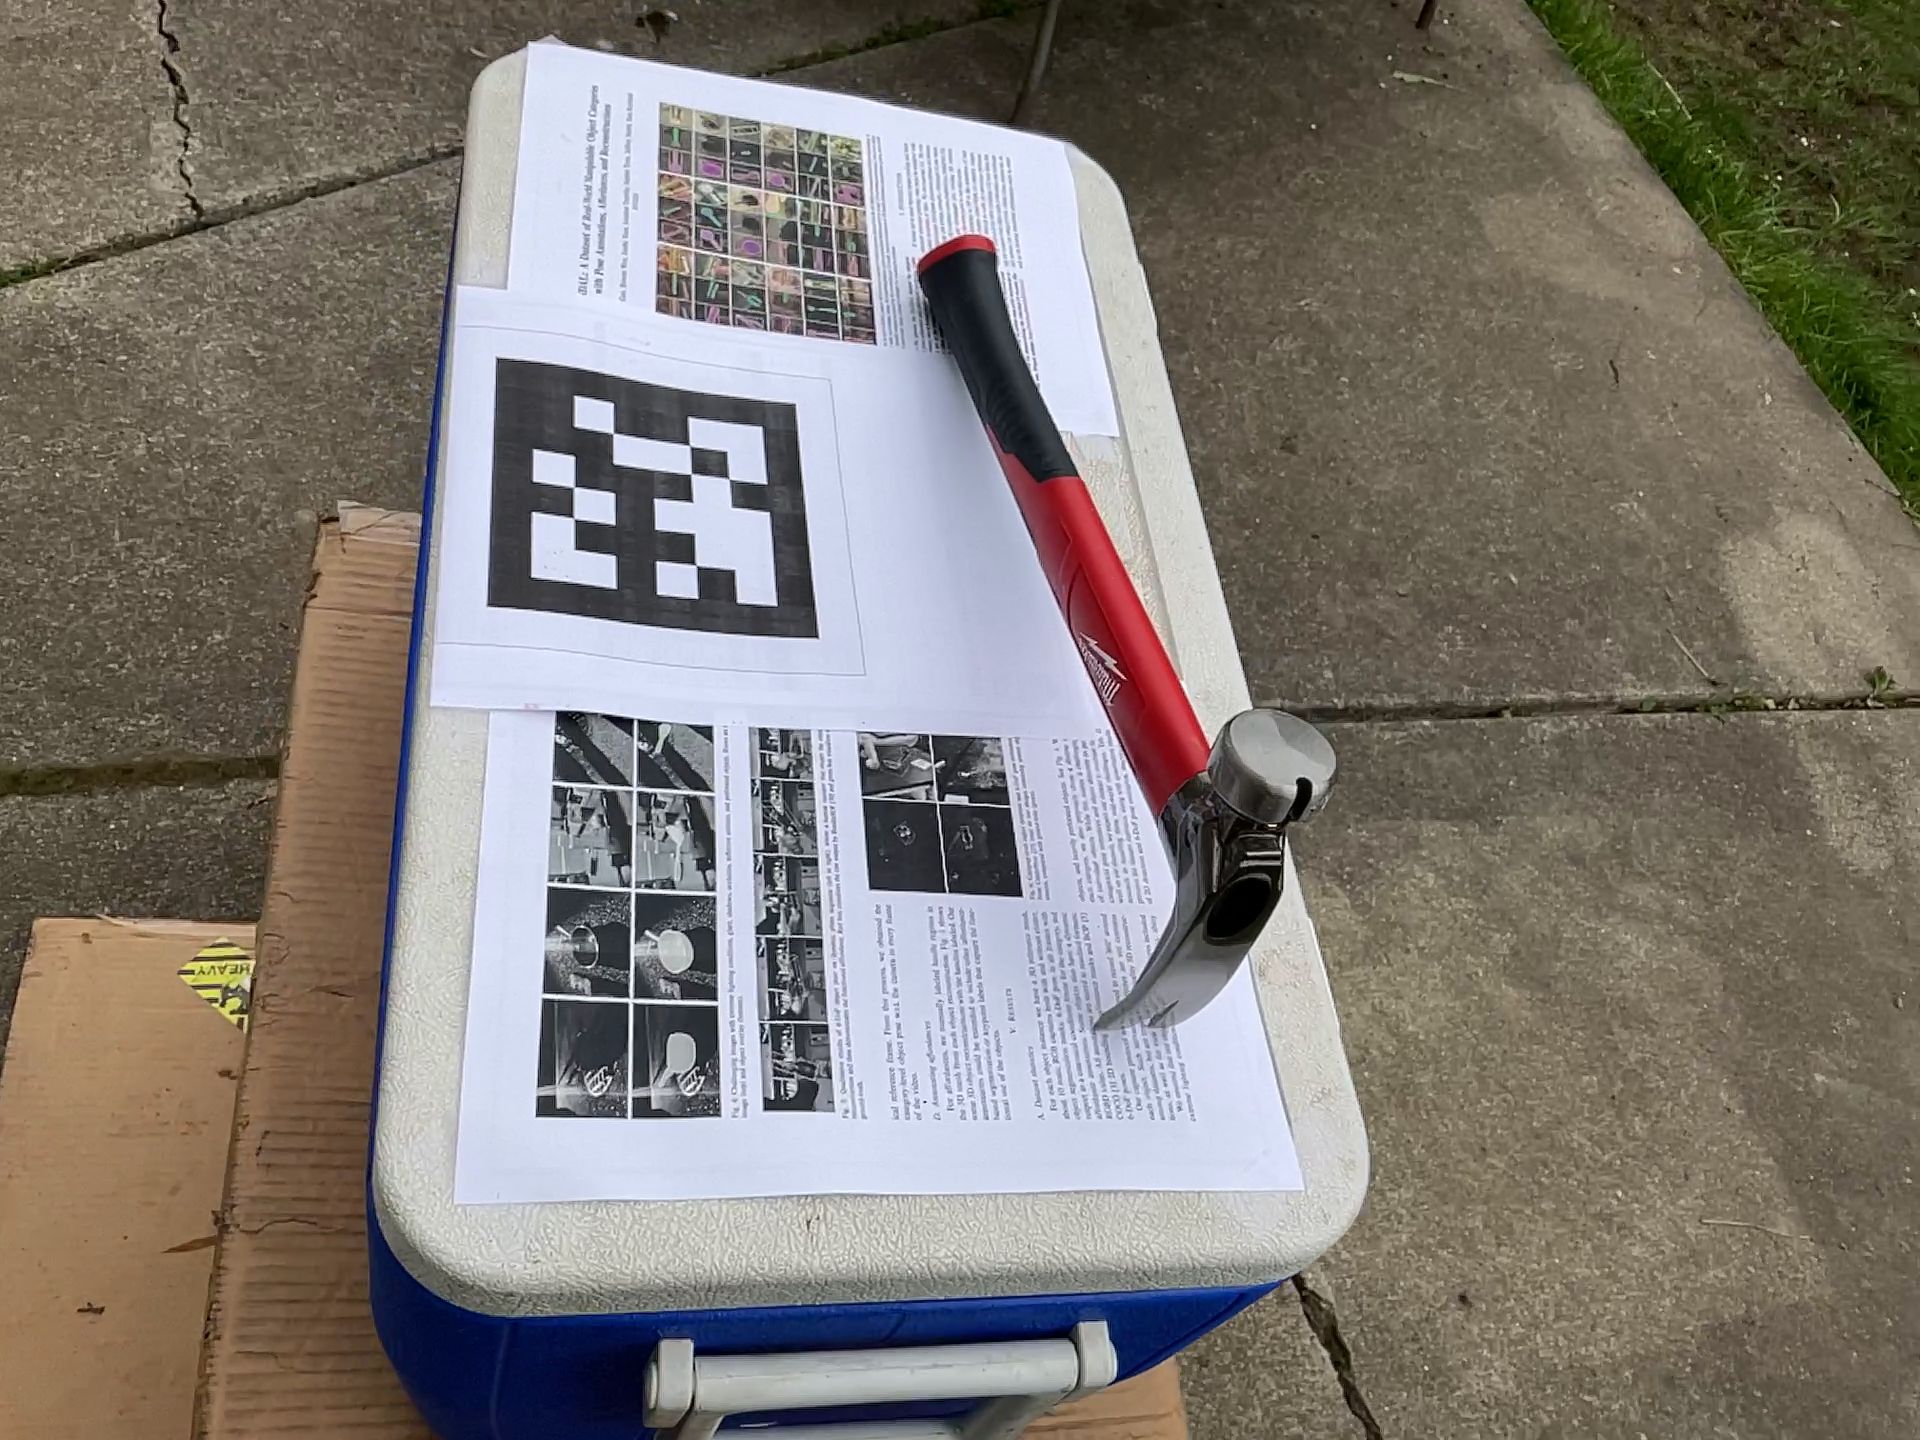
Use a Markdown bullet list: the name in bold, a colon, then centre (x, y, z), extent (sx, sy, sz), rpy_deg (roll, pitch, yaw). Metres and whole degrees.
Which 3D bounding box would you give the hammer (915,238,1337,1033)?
- **hammer**: centre (0.037, -0.065, 0.645), extent (0.038, 0.143, 0.387), rpy_deg (1, 45, -21)
